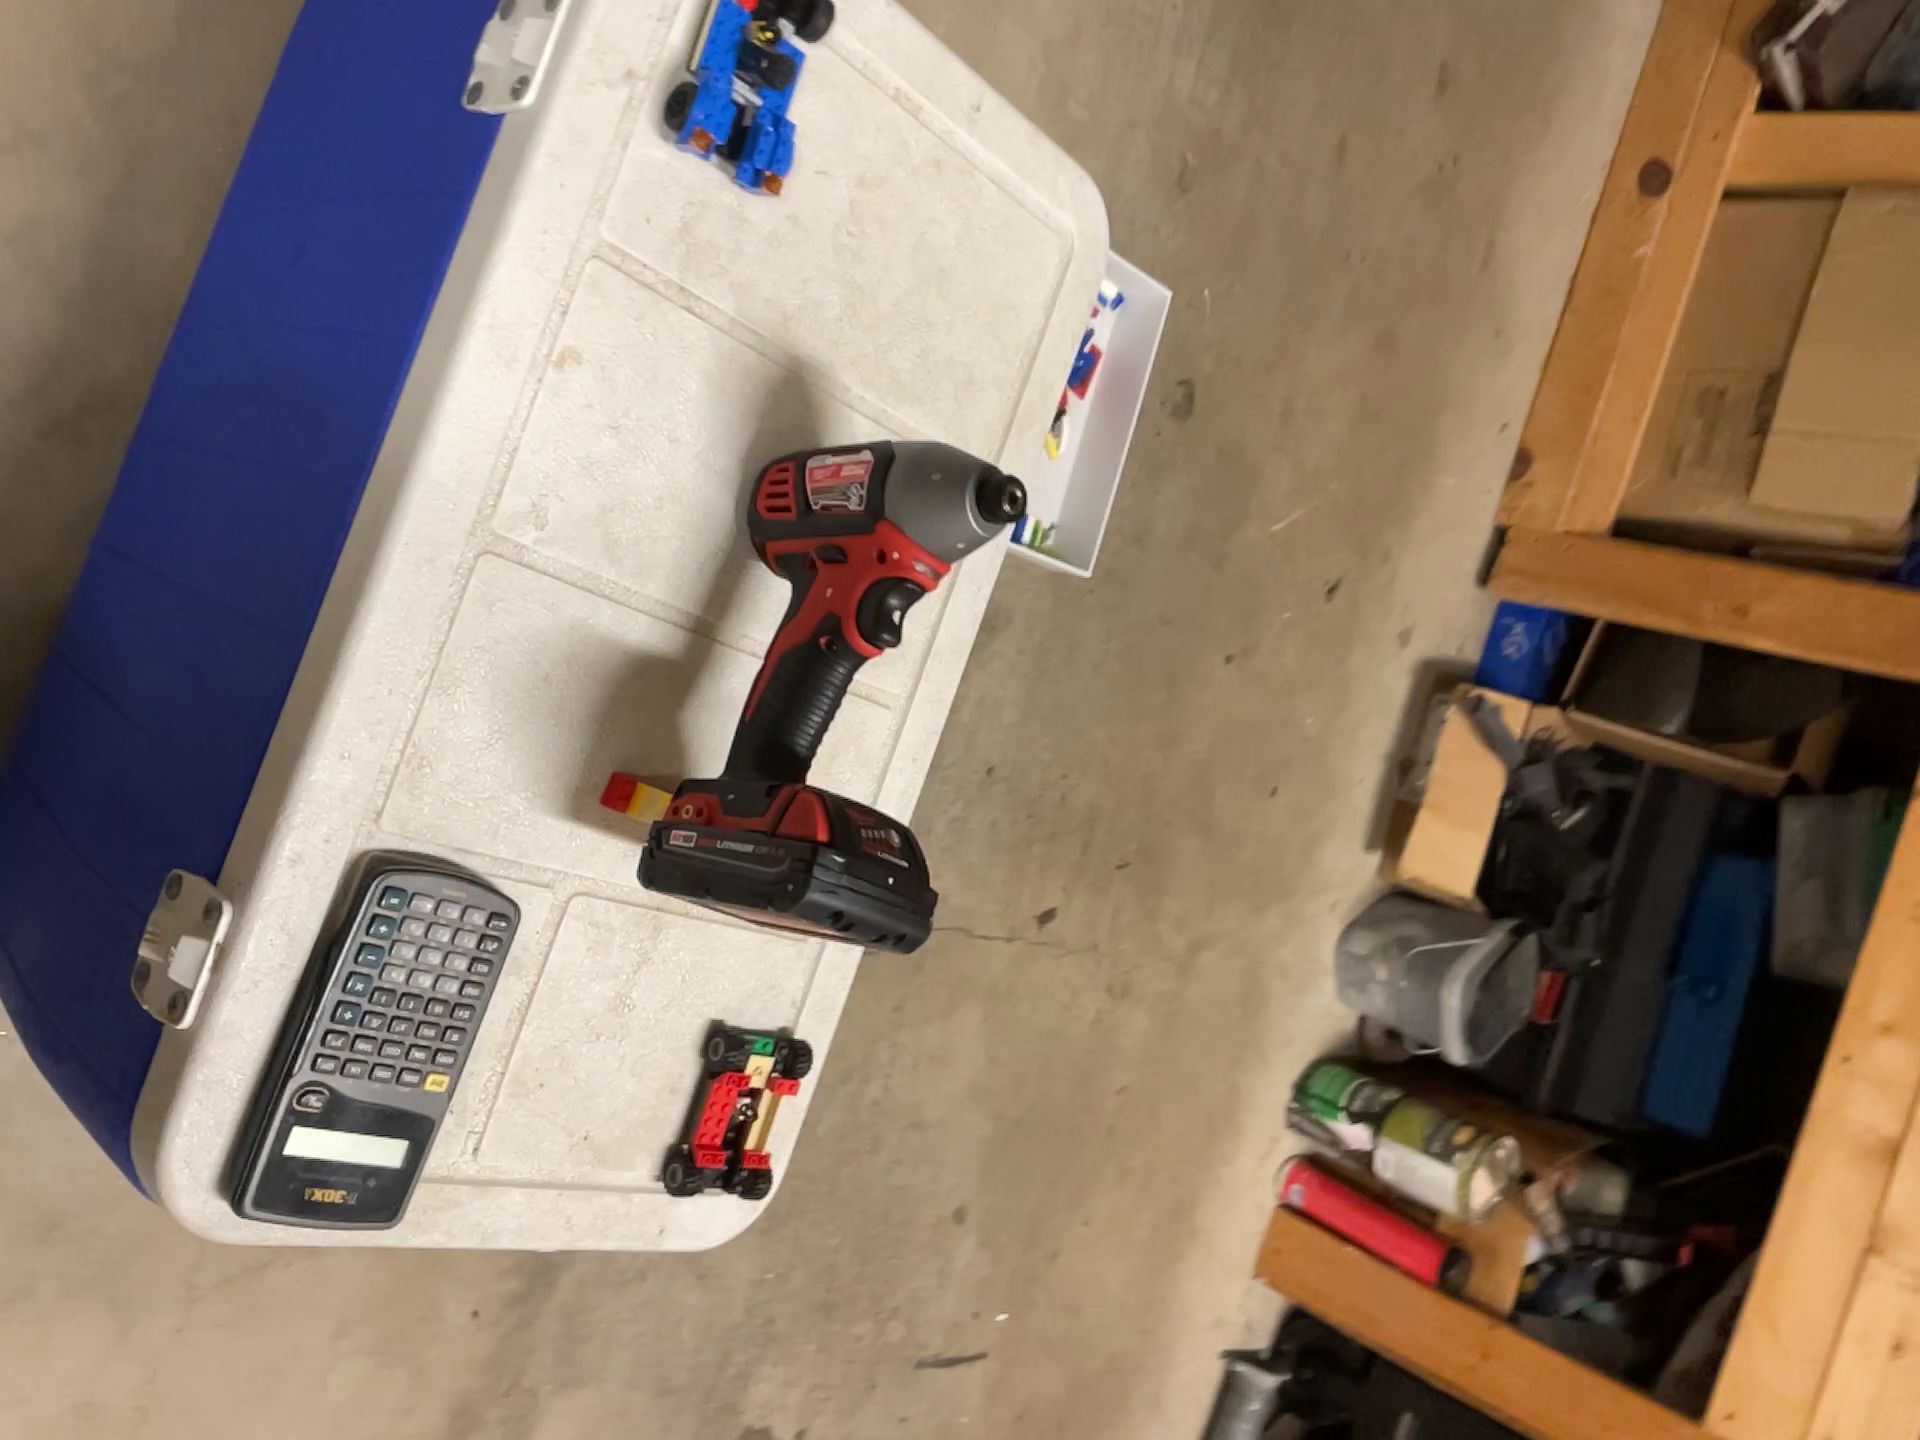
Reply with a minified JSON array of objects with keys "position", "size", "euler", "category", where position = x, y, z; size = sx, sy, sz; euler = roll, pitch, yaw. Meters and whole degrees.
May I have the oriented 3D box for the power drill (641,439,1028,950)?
[{"position":[-0.048,-0.019,0.694],"size":[0.078,0.143,0.220],"euler":[29,69,-47],"category":"power drill"}]
